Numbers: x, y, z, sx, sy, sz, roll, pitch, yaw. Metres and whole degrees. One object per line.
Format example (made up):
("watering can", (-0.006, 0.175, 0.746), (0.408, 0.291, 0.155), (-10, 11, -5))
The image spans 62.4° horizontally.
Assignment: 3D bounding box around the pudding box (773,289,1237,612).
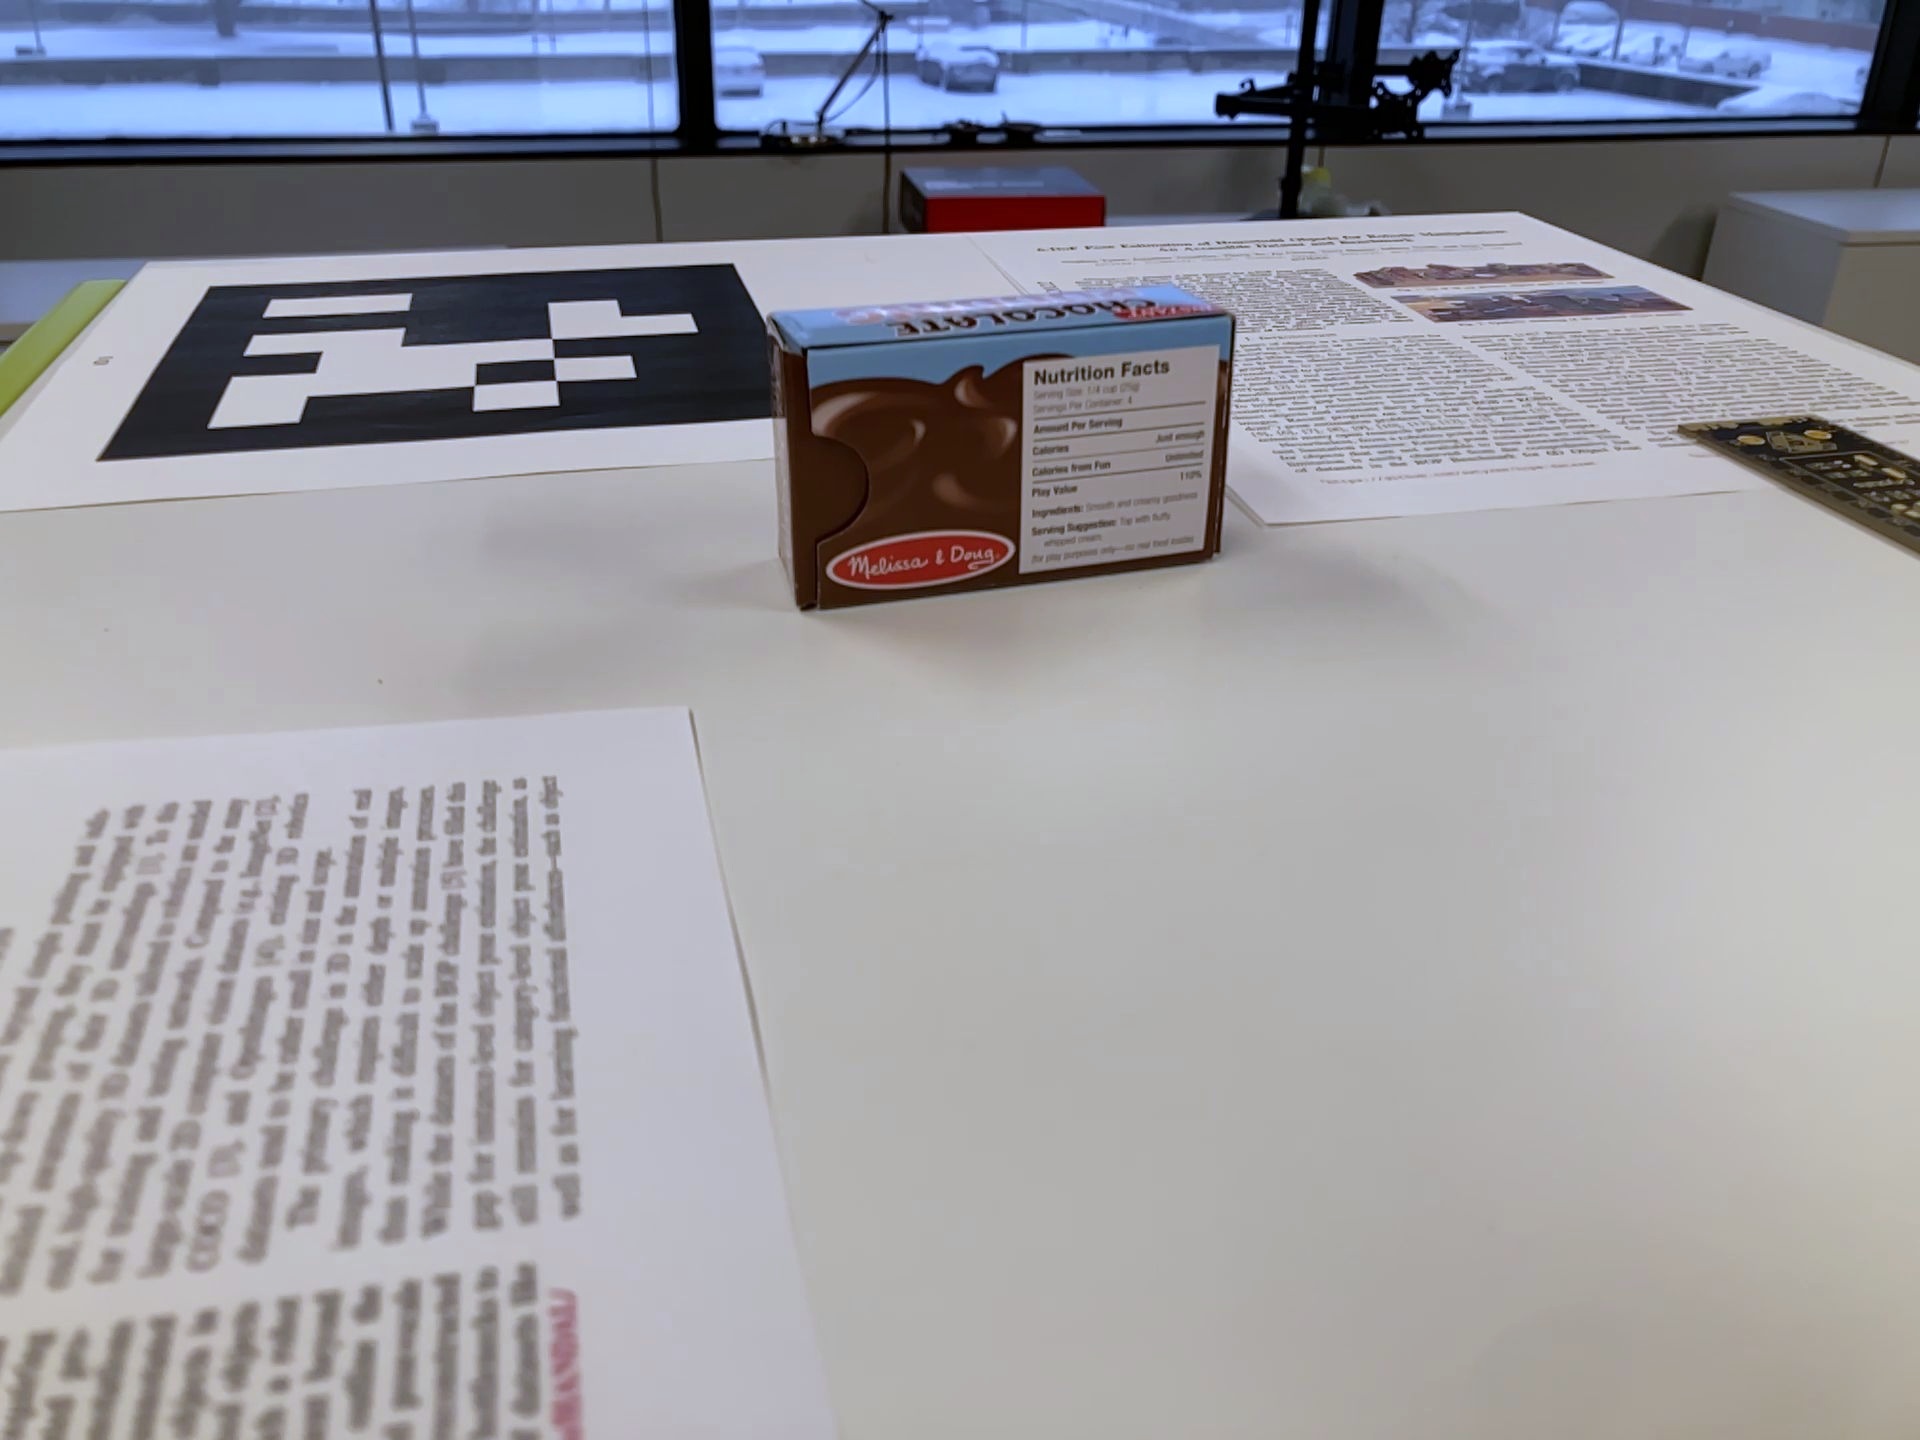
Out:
("pudding box", (0.008, -0.053, 0.299), (0.083, 0.049, 0.030), (-9, 28, -15))
